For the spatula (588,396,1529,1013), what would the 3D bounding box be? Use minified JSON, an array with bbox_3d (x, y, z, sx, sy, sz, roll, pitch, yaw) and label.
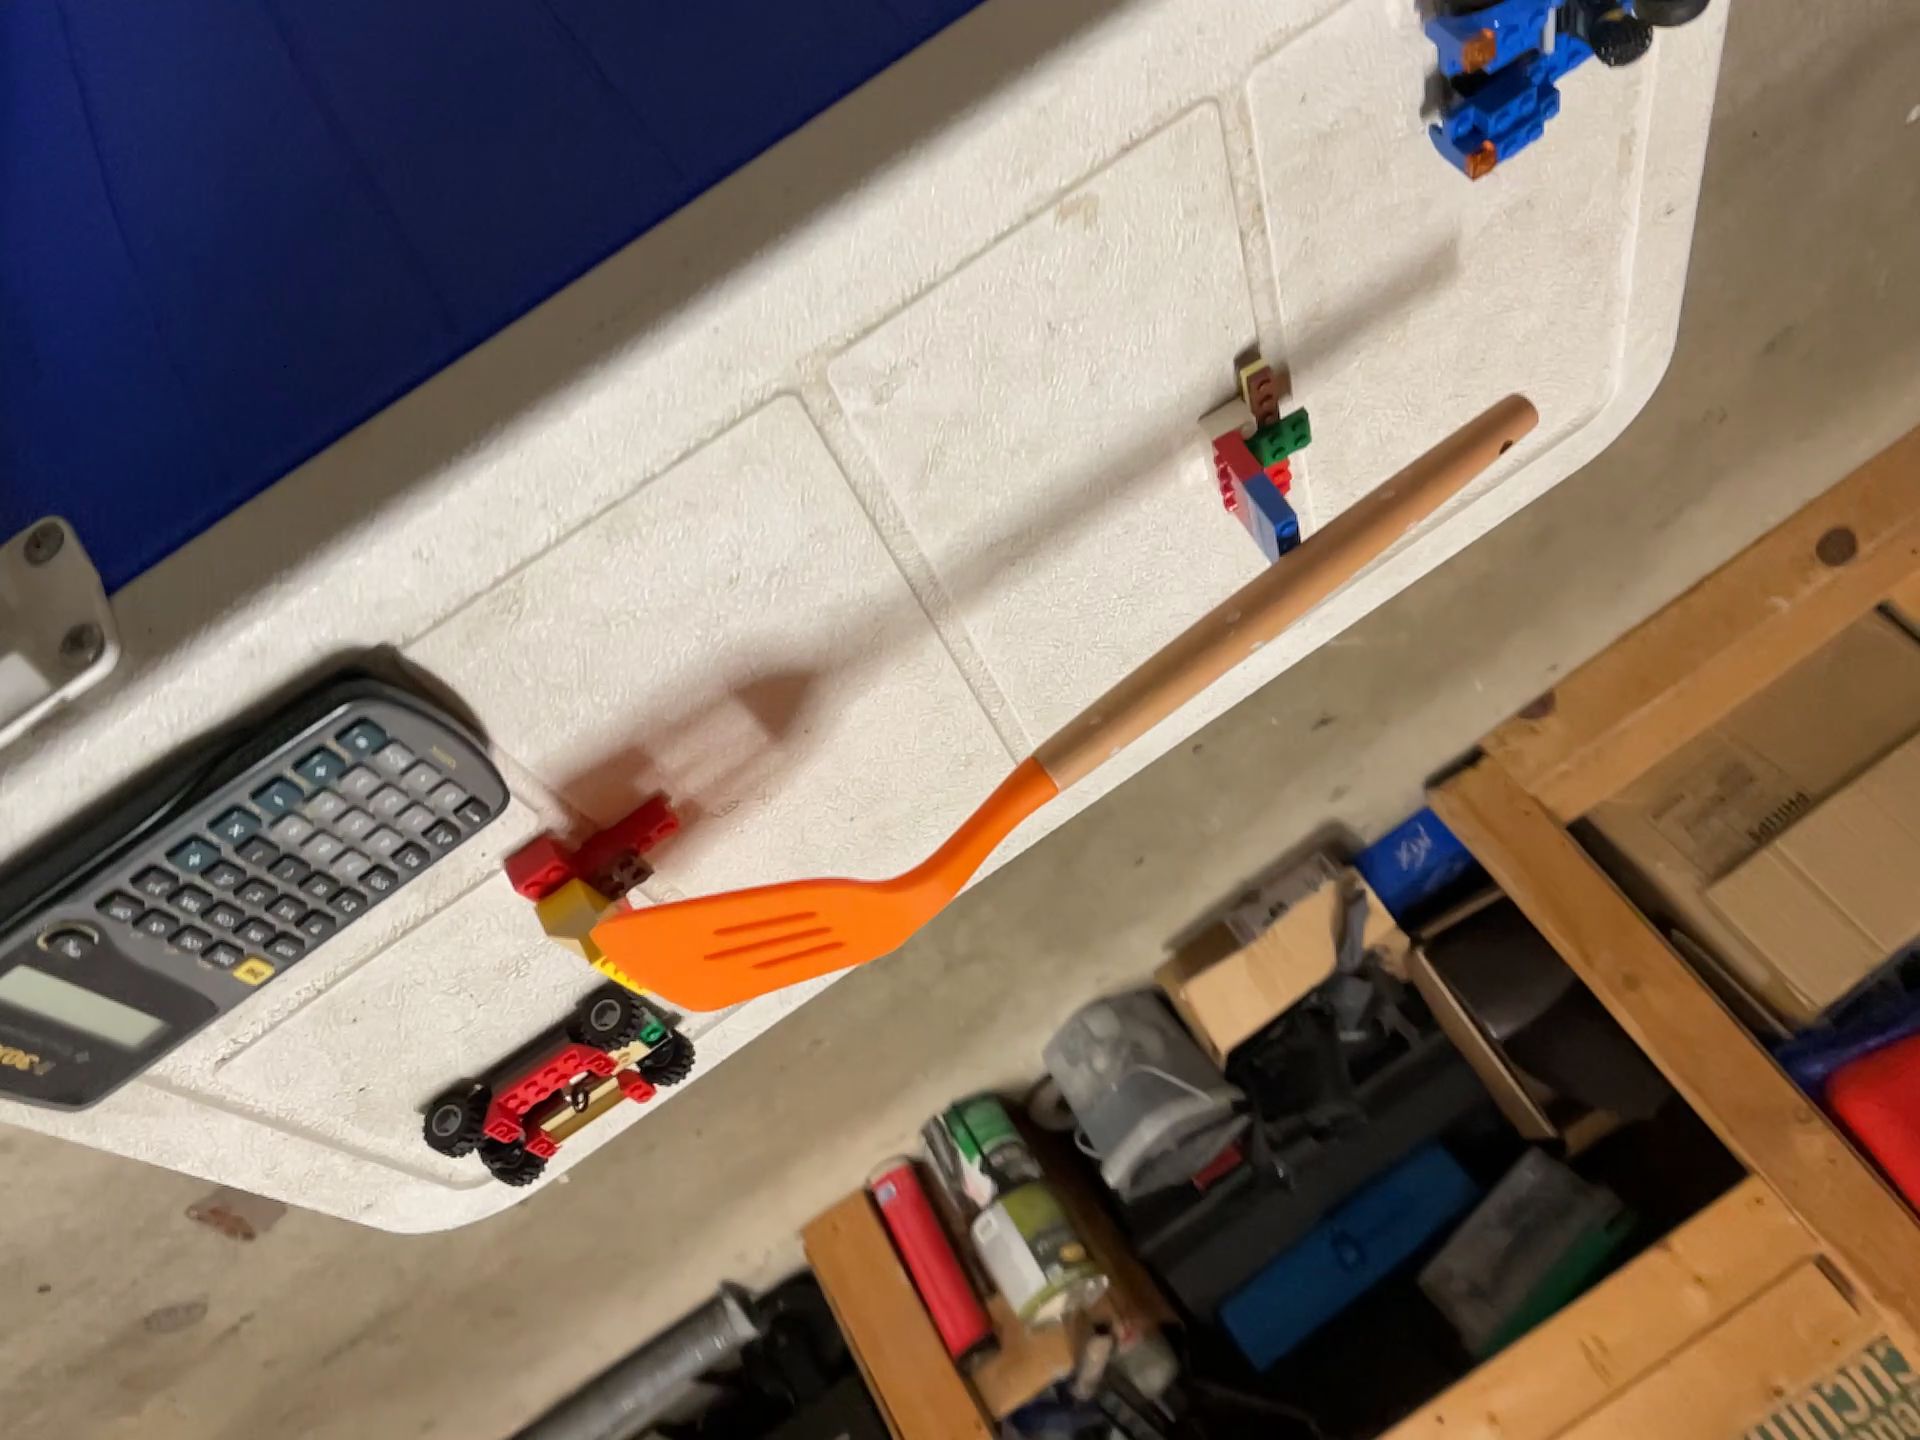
[{"bbox_3d":[0.039,-0.005,0.486,0.322,0.041,0.081,-37,148,-4],"label":"spatula"}]
